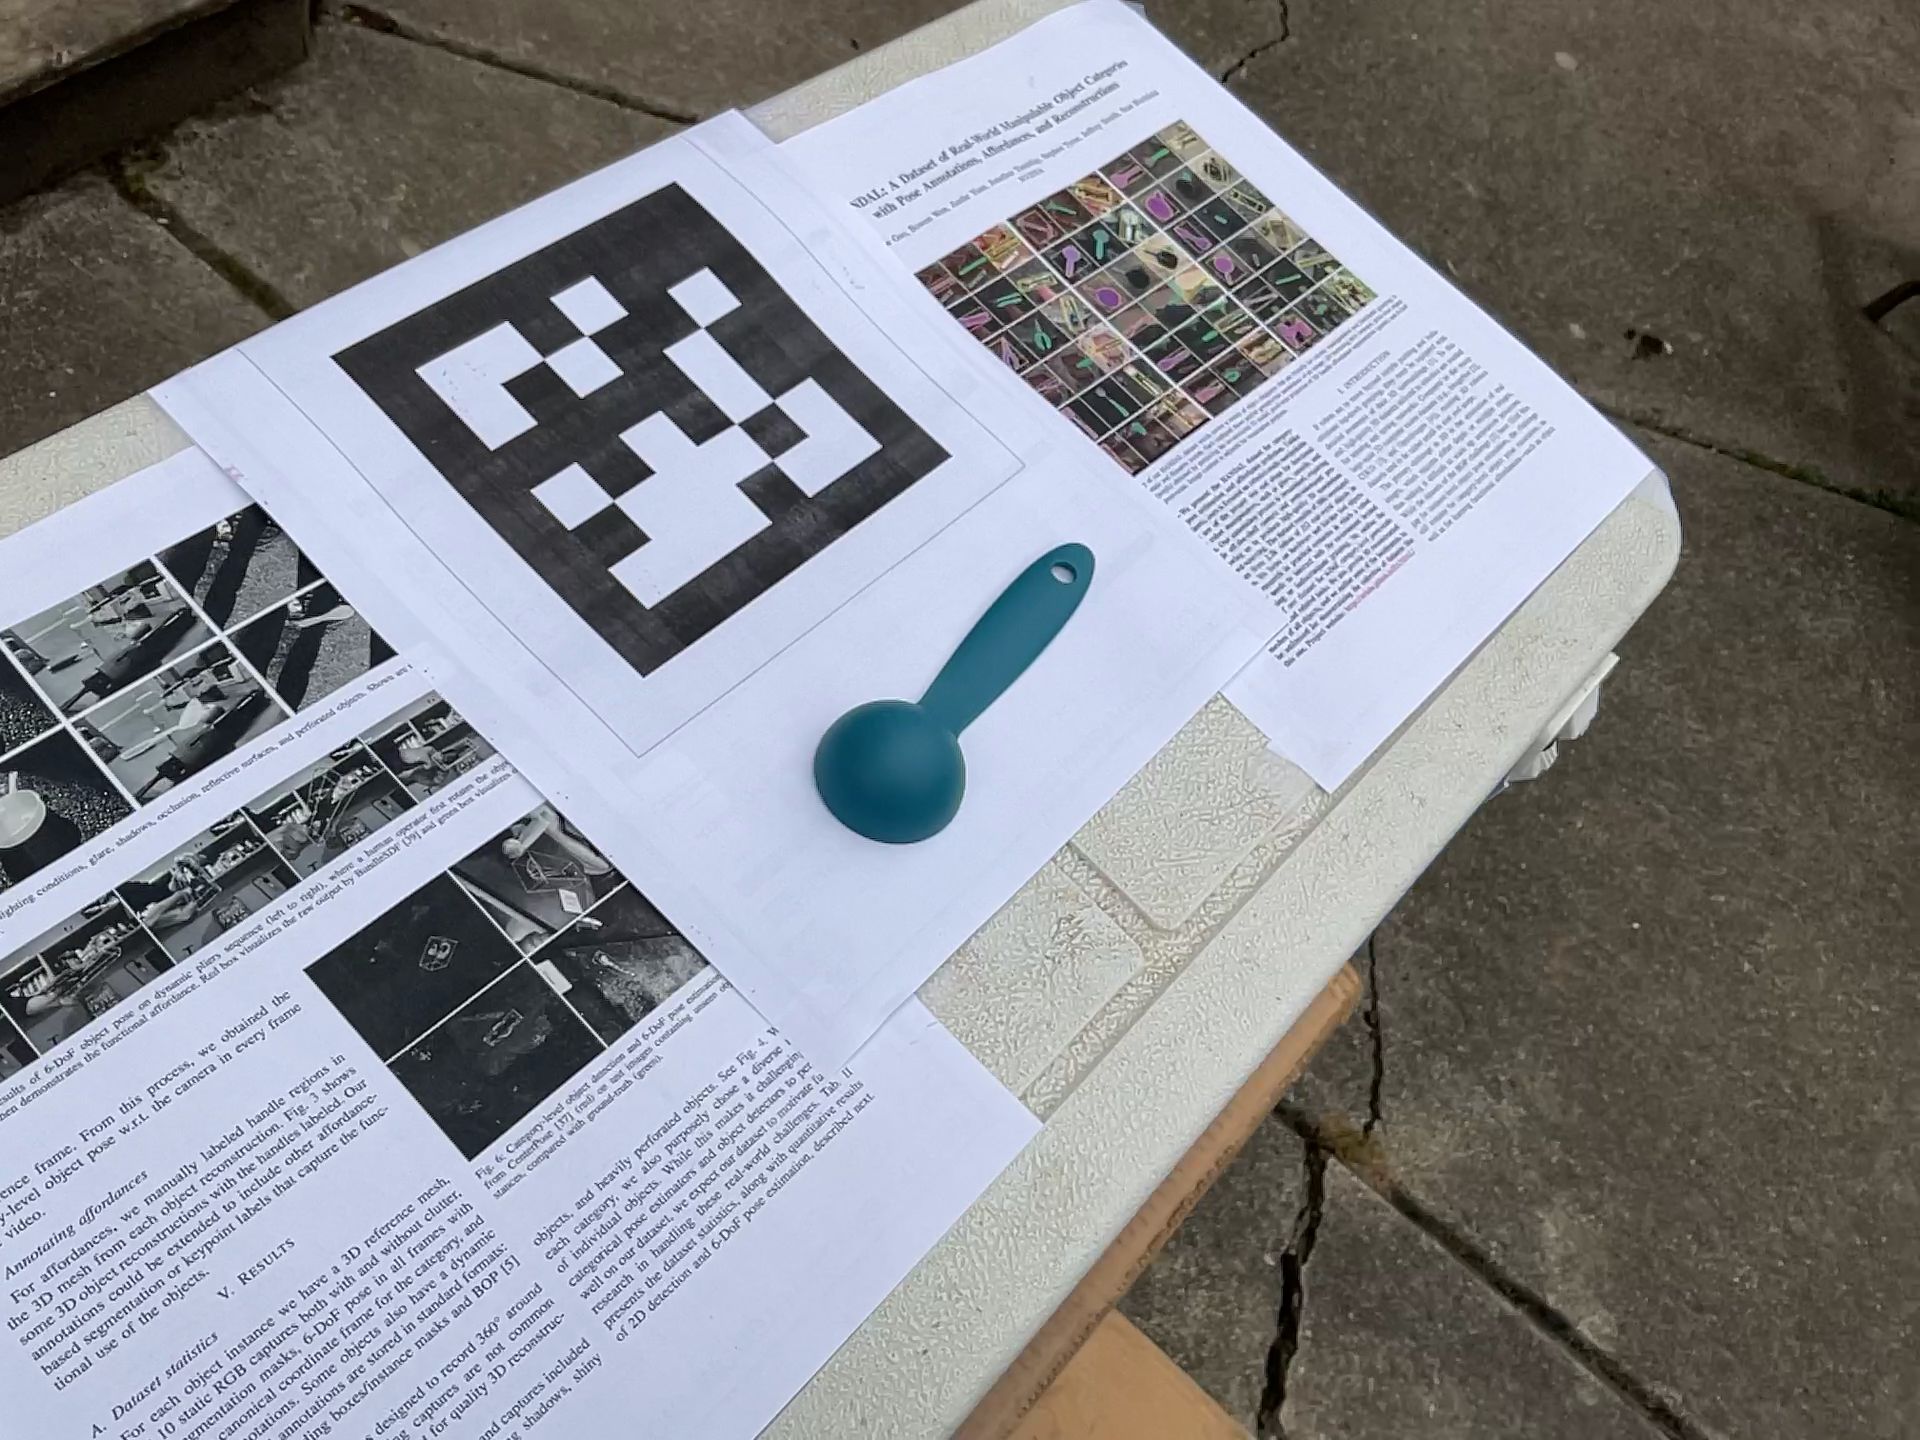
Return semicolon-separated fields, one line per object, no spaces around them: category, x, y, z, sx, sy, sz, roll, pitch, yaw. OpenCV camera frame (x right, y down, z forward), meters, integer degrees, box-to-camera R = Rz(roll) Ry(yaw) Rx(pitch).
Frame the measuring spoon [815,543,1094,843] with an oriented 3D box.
measuring spoon;0.006;-0.017;0.458;0.042;0.021;0.129;34;56;9
